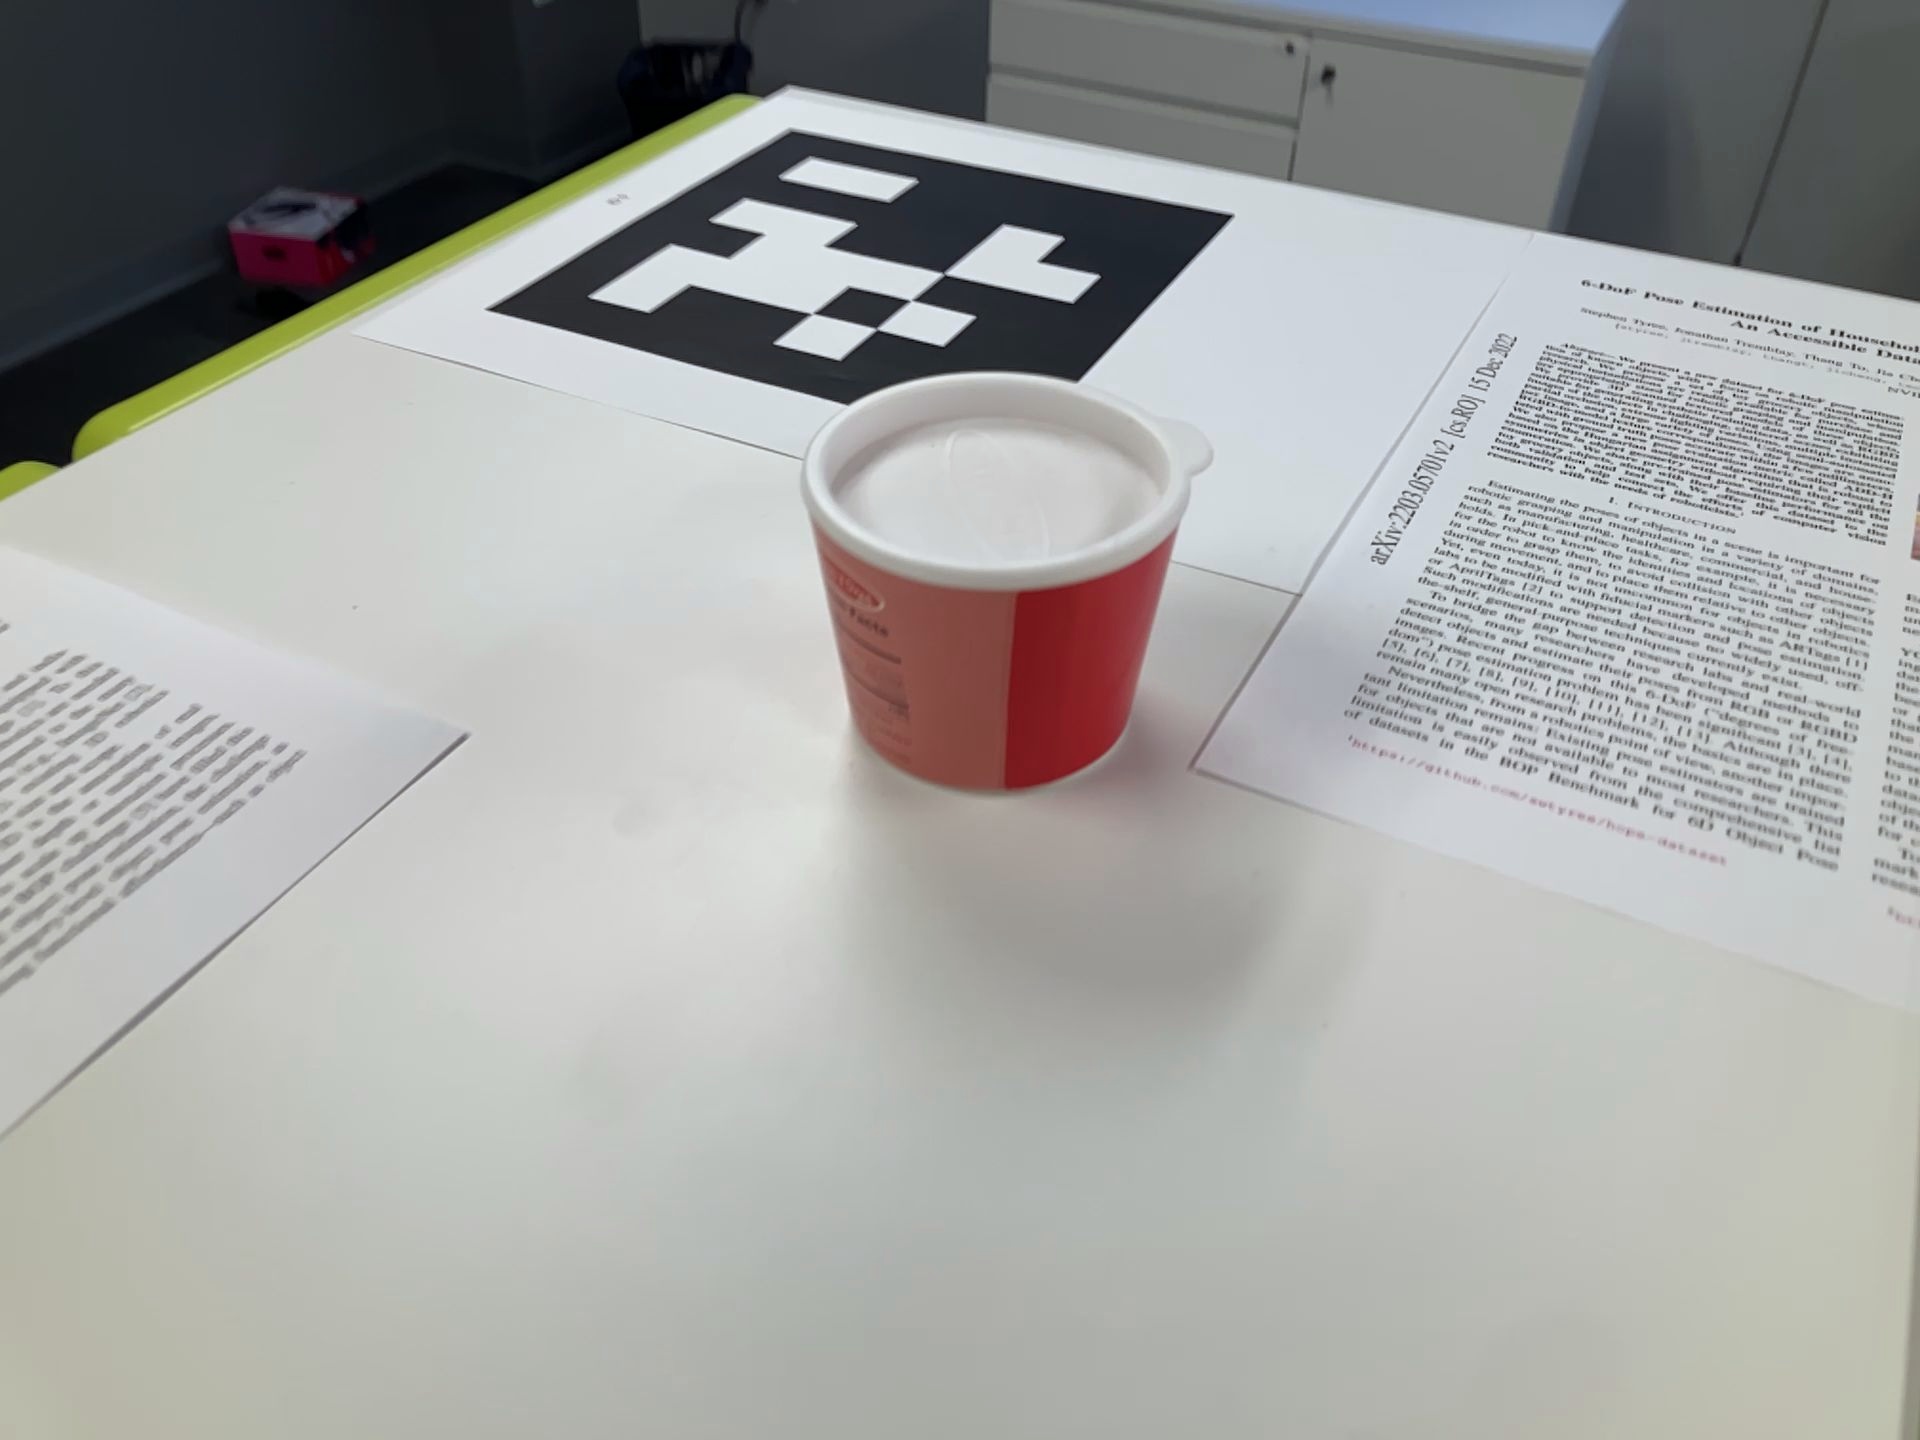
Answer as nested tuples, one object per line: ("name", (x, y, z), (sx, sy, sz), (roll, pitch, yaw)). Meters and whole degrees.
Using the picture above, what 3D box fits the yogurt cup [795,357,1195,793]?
("yogurt cup", (0.006, -0.024, 0.286), (0.072, 0.054, 0.072), (-1, 39, 0))
